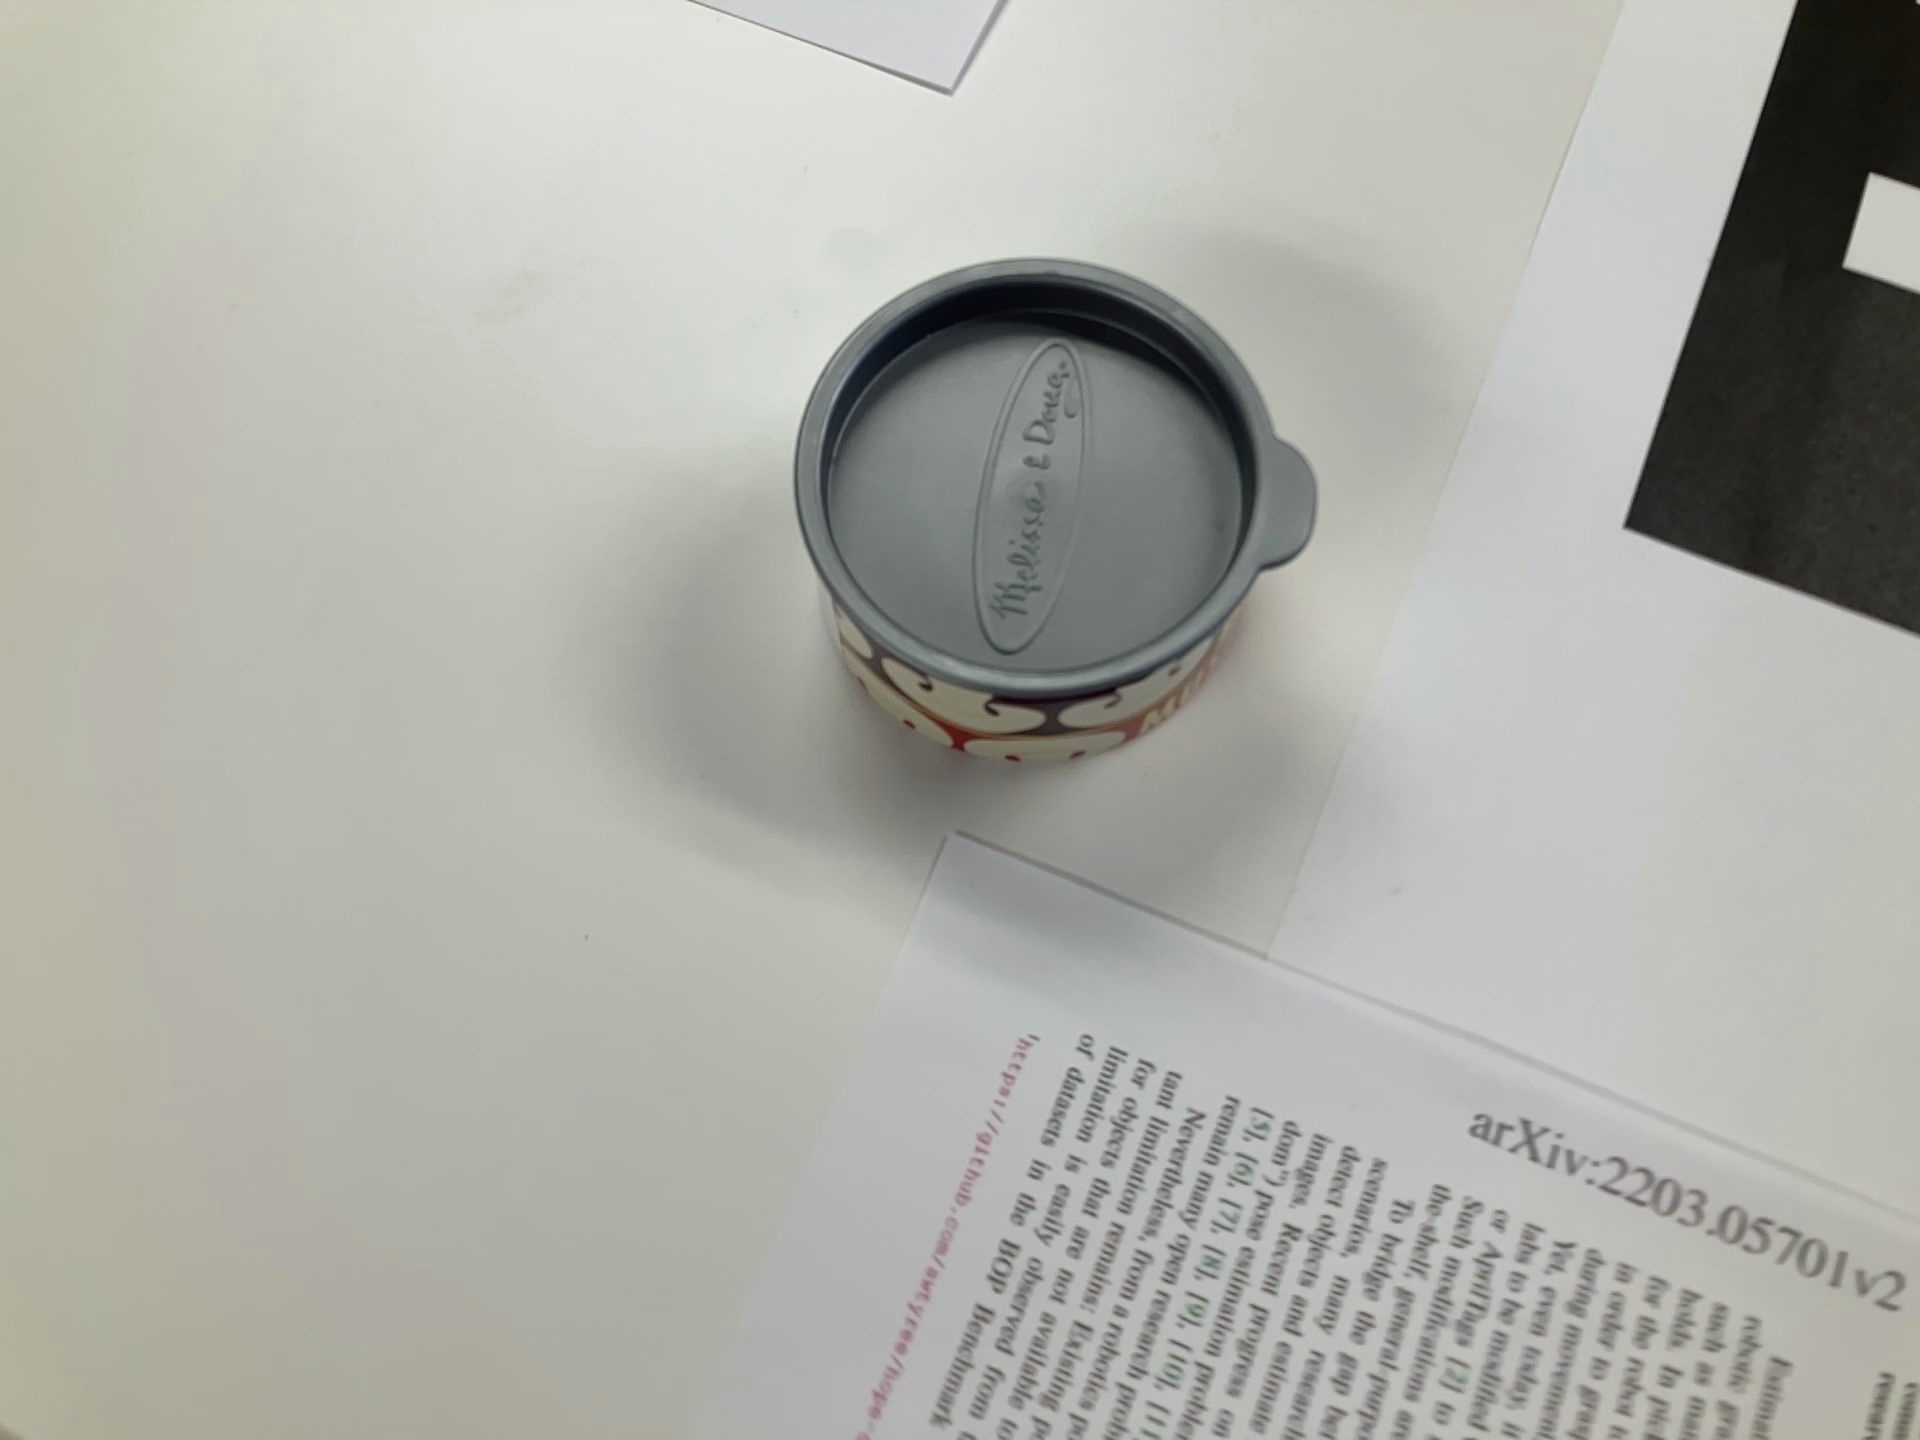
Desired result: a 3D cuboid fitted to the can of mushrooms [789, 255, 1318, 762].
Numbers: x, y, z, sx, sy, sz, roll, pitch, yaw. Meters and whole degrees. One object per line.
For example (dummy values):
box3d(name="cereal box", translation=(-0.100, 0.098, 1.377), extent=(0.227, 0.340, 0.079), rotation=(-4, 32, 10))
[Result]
box3d(name="can of mushrooms", translation=(0.013, -0.029, 0.227), extent=(0.071, 0.033, 0.071), rotation=(0, 70, 0))
